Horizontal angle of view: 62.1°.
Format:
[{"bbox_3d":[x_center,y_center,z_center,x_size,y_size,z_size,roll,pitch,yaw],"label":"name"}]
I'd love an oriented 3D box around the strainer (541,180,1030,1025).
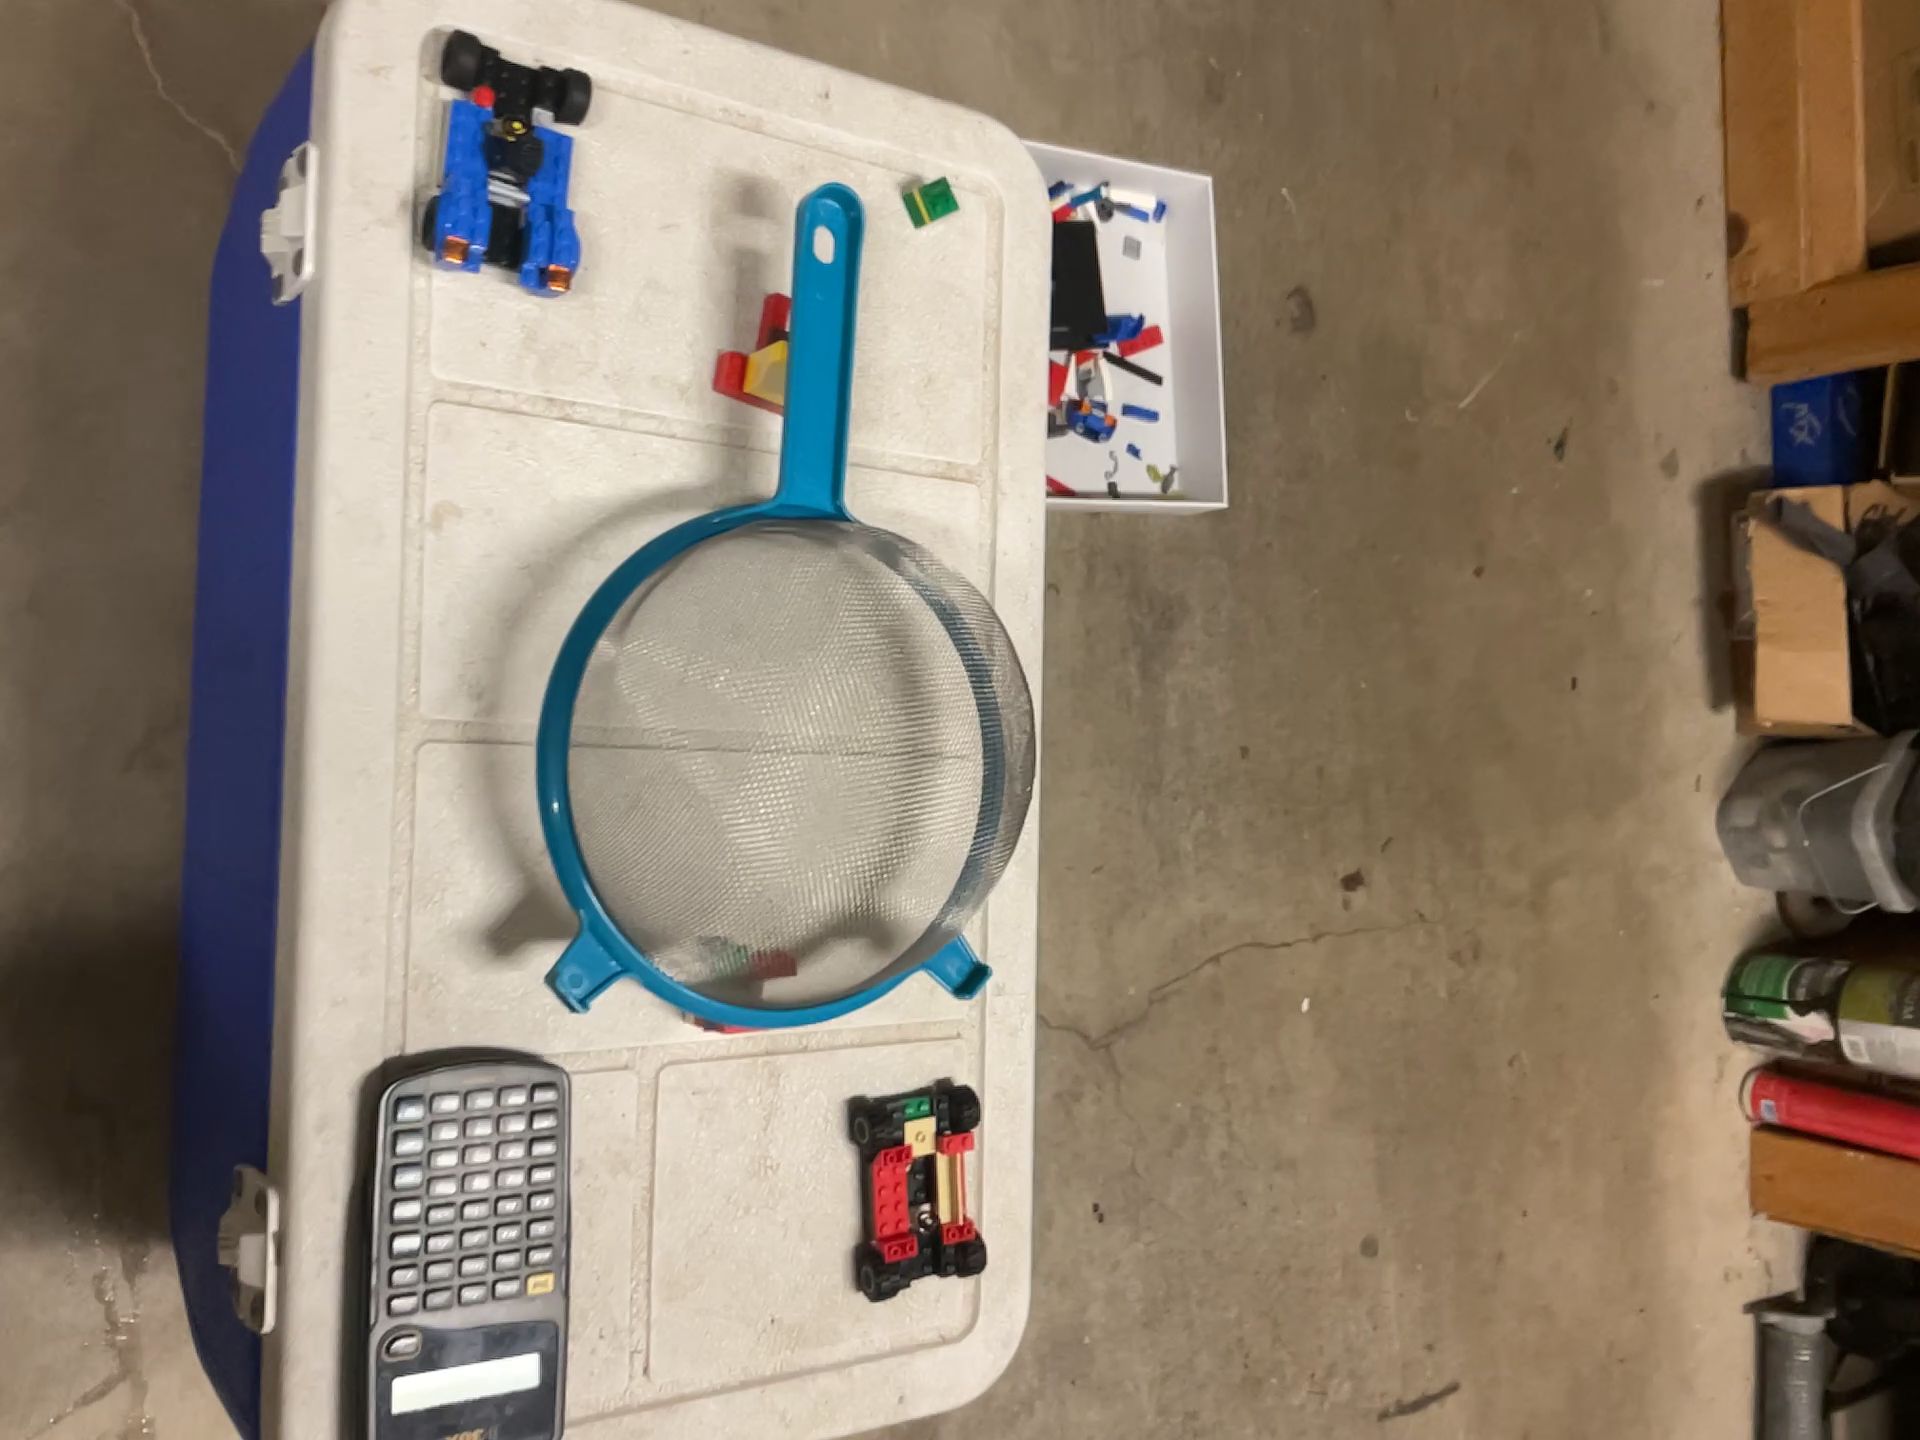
[{"bbox_3d":[-0.040,-0.049,0.614,0.211,0.095,0.340,5,87,-34],"label":"strainer"}]
